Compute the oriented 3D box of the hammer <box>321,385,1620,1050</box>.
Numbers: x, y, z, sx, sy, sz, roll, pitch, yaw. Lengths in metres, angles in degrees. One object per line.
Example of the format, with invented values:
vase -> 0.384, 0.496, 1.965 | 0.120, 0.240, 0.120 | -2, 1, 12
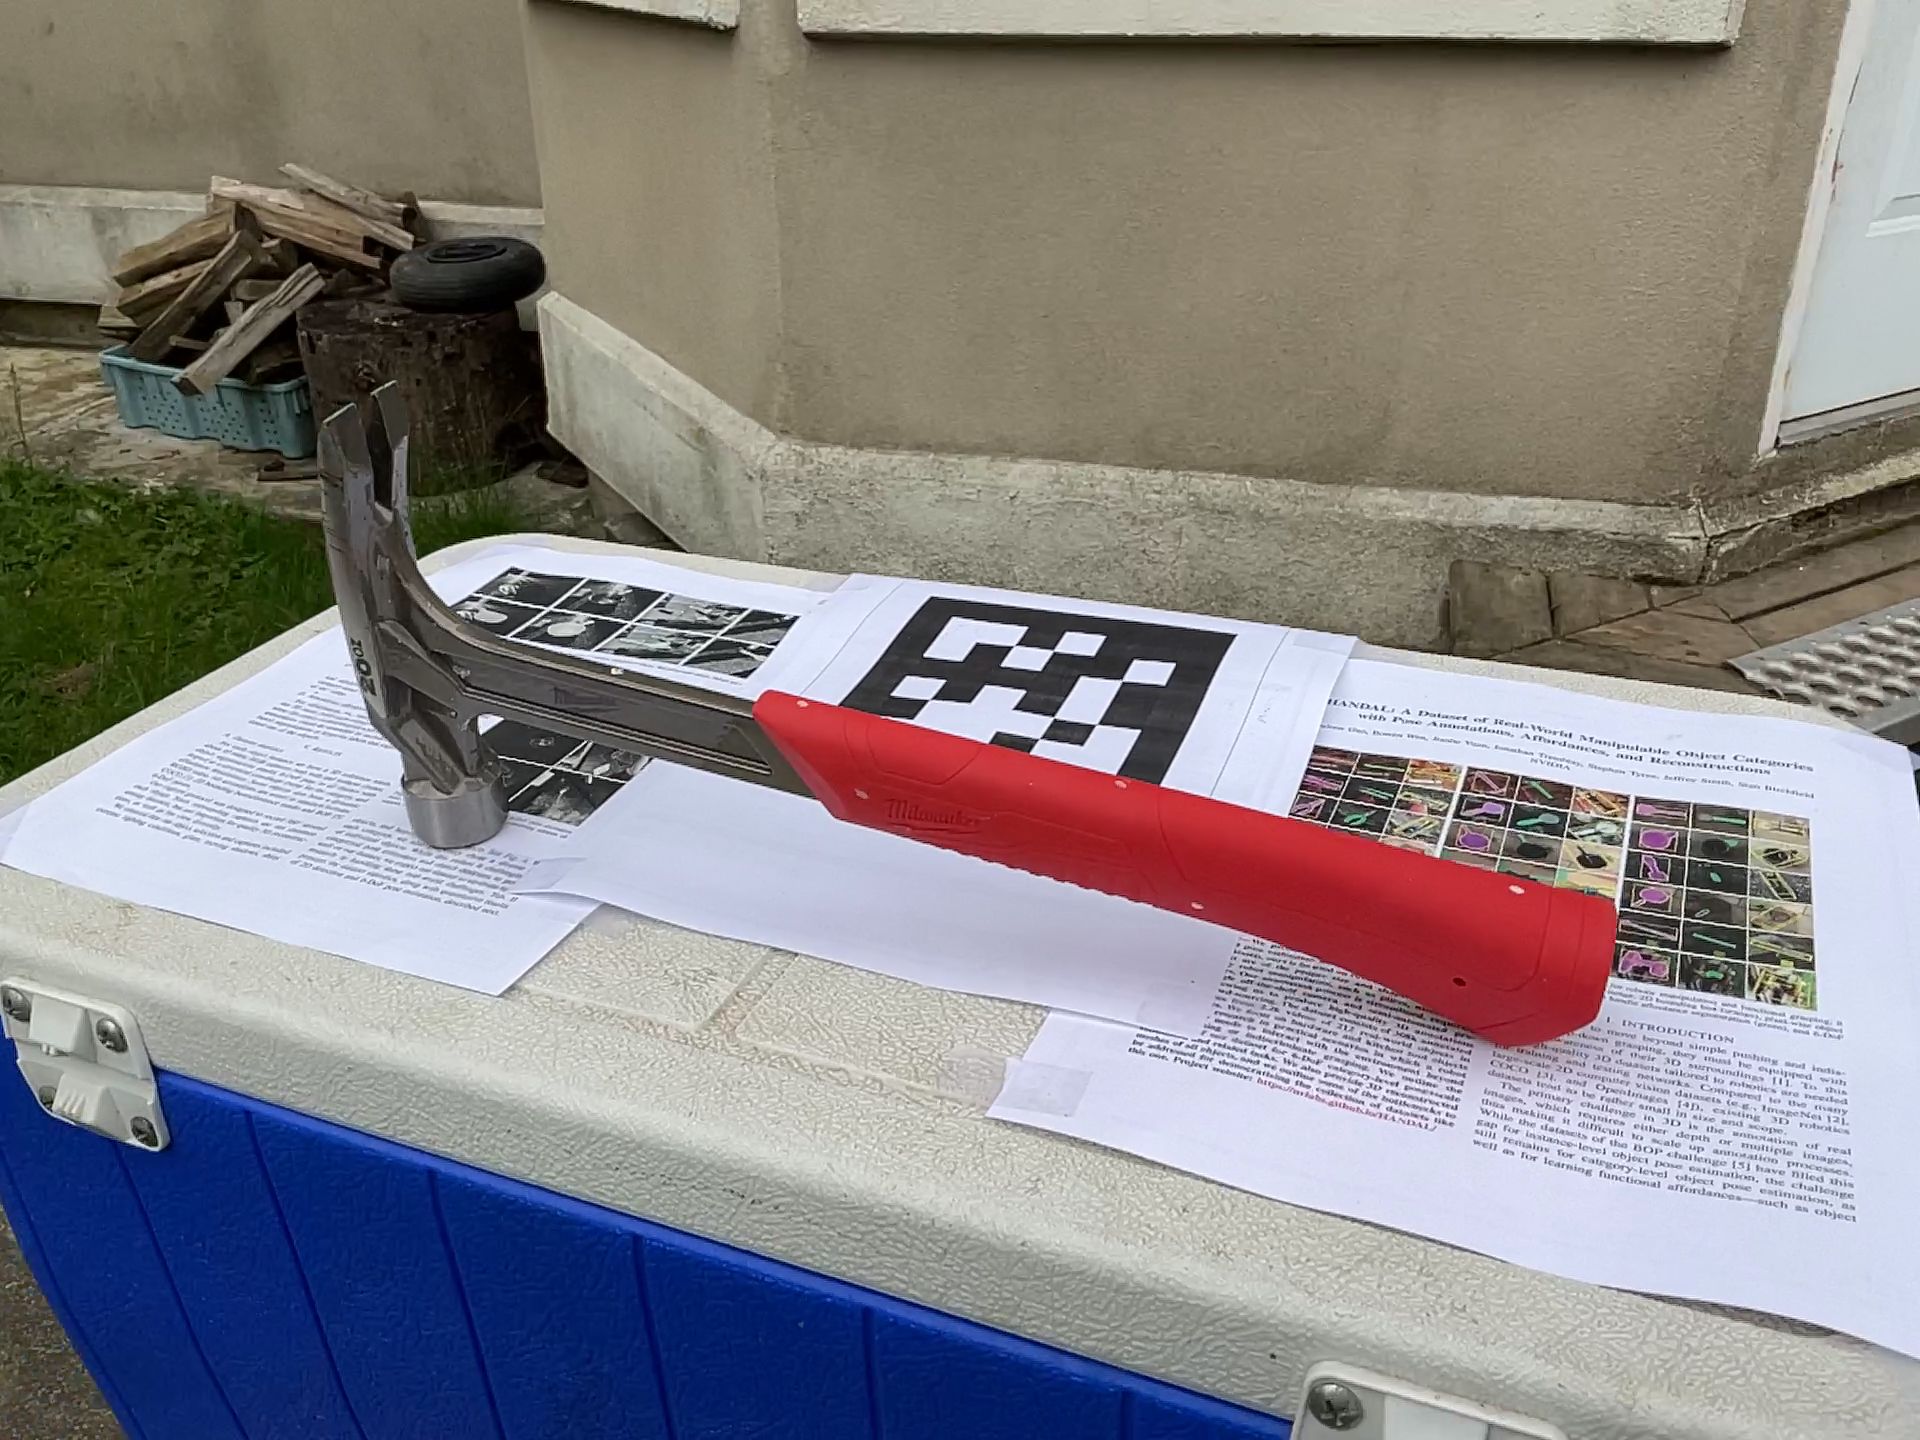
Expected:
hammer -> -0.009, 0.012, 0.436 | 0.359, 0.149, 0.036 | 14, 37, 16
